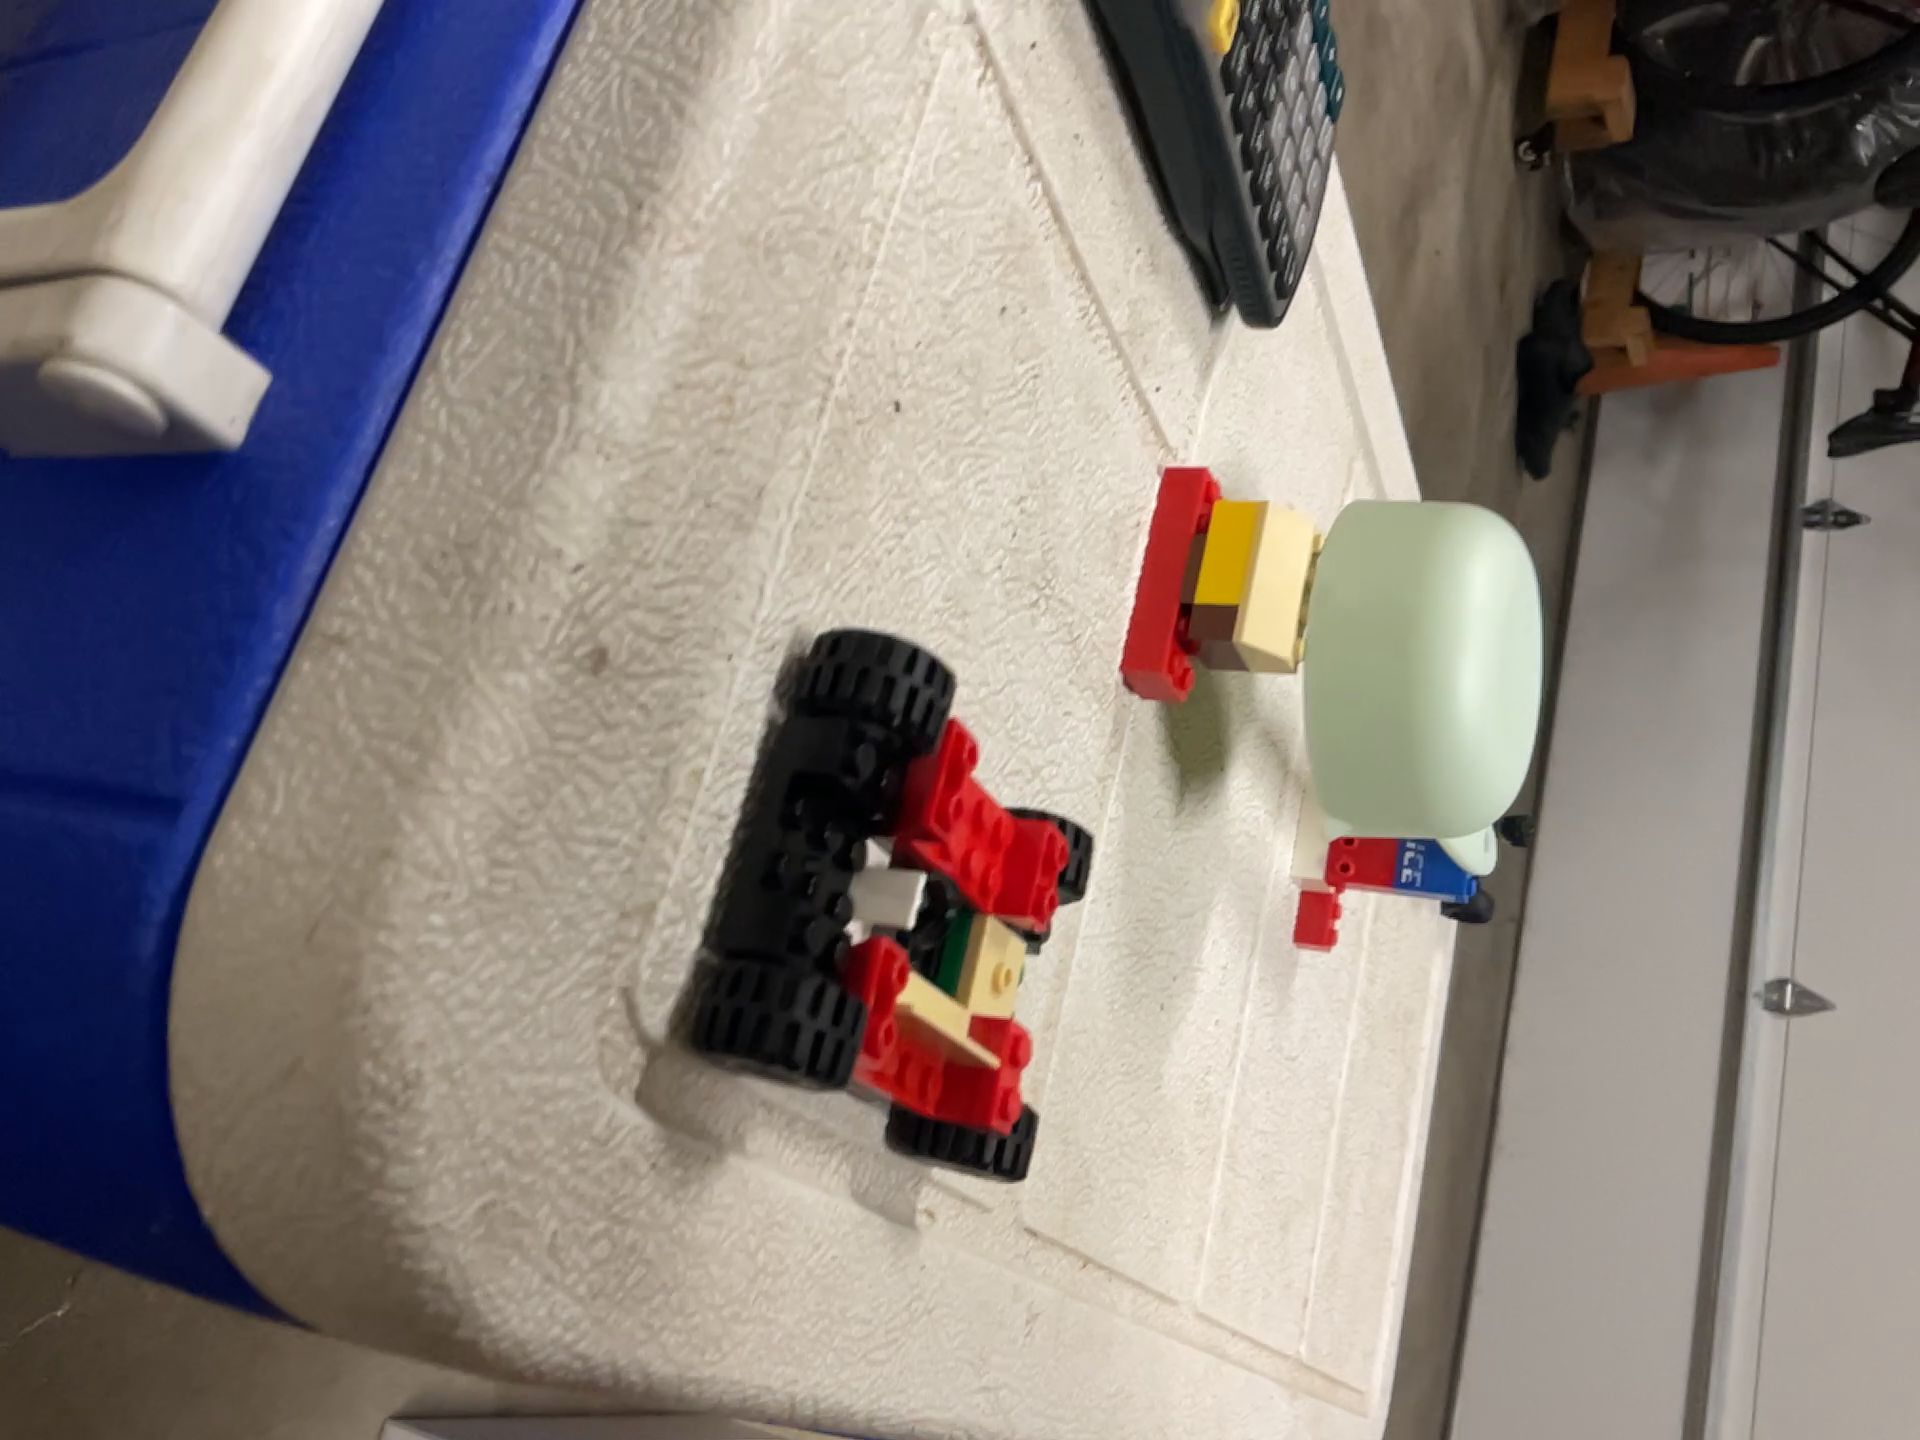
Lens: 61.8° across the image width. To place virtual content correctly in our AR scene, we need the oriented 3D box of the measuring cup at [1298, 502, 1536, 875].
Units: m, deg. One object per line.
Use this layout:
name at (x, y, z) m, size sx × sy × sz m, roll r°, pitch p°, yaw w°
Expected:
measuring cup at (0.125, 0.007, 0.392) m, size 0.168 × 0.038 × 0.083 m, roll 40°, pitch 58°, yaw -52°
